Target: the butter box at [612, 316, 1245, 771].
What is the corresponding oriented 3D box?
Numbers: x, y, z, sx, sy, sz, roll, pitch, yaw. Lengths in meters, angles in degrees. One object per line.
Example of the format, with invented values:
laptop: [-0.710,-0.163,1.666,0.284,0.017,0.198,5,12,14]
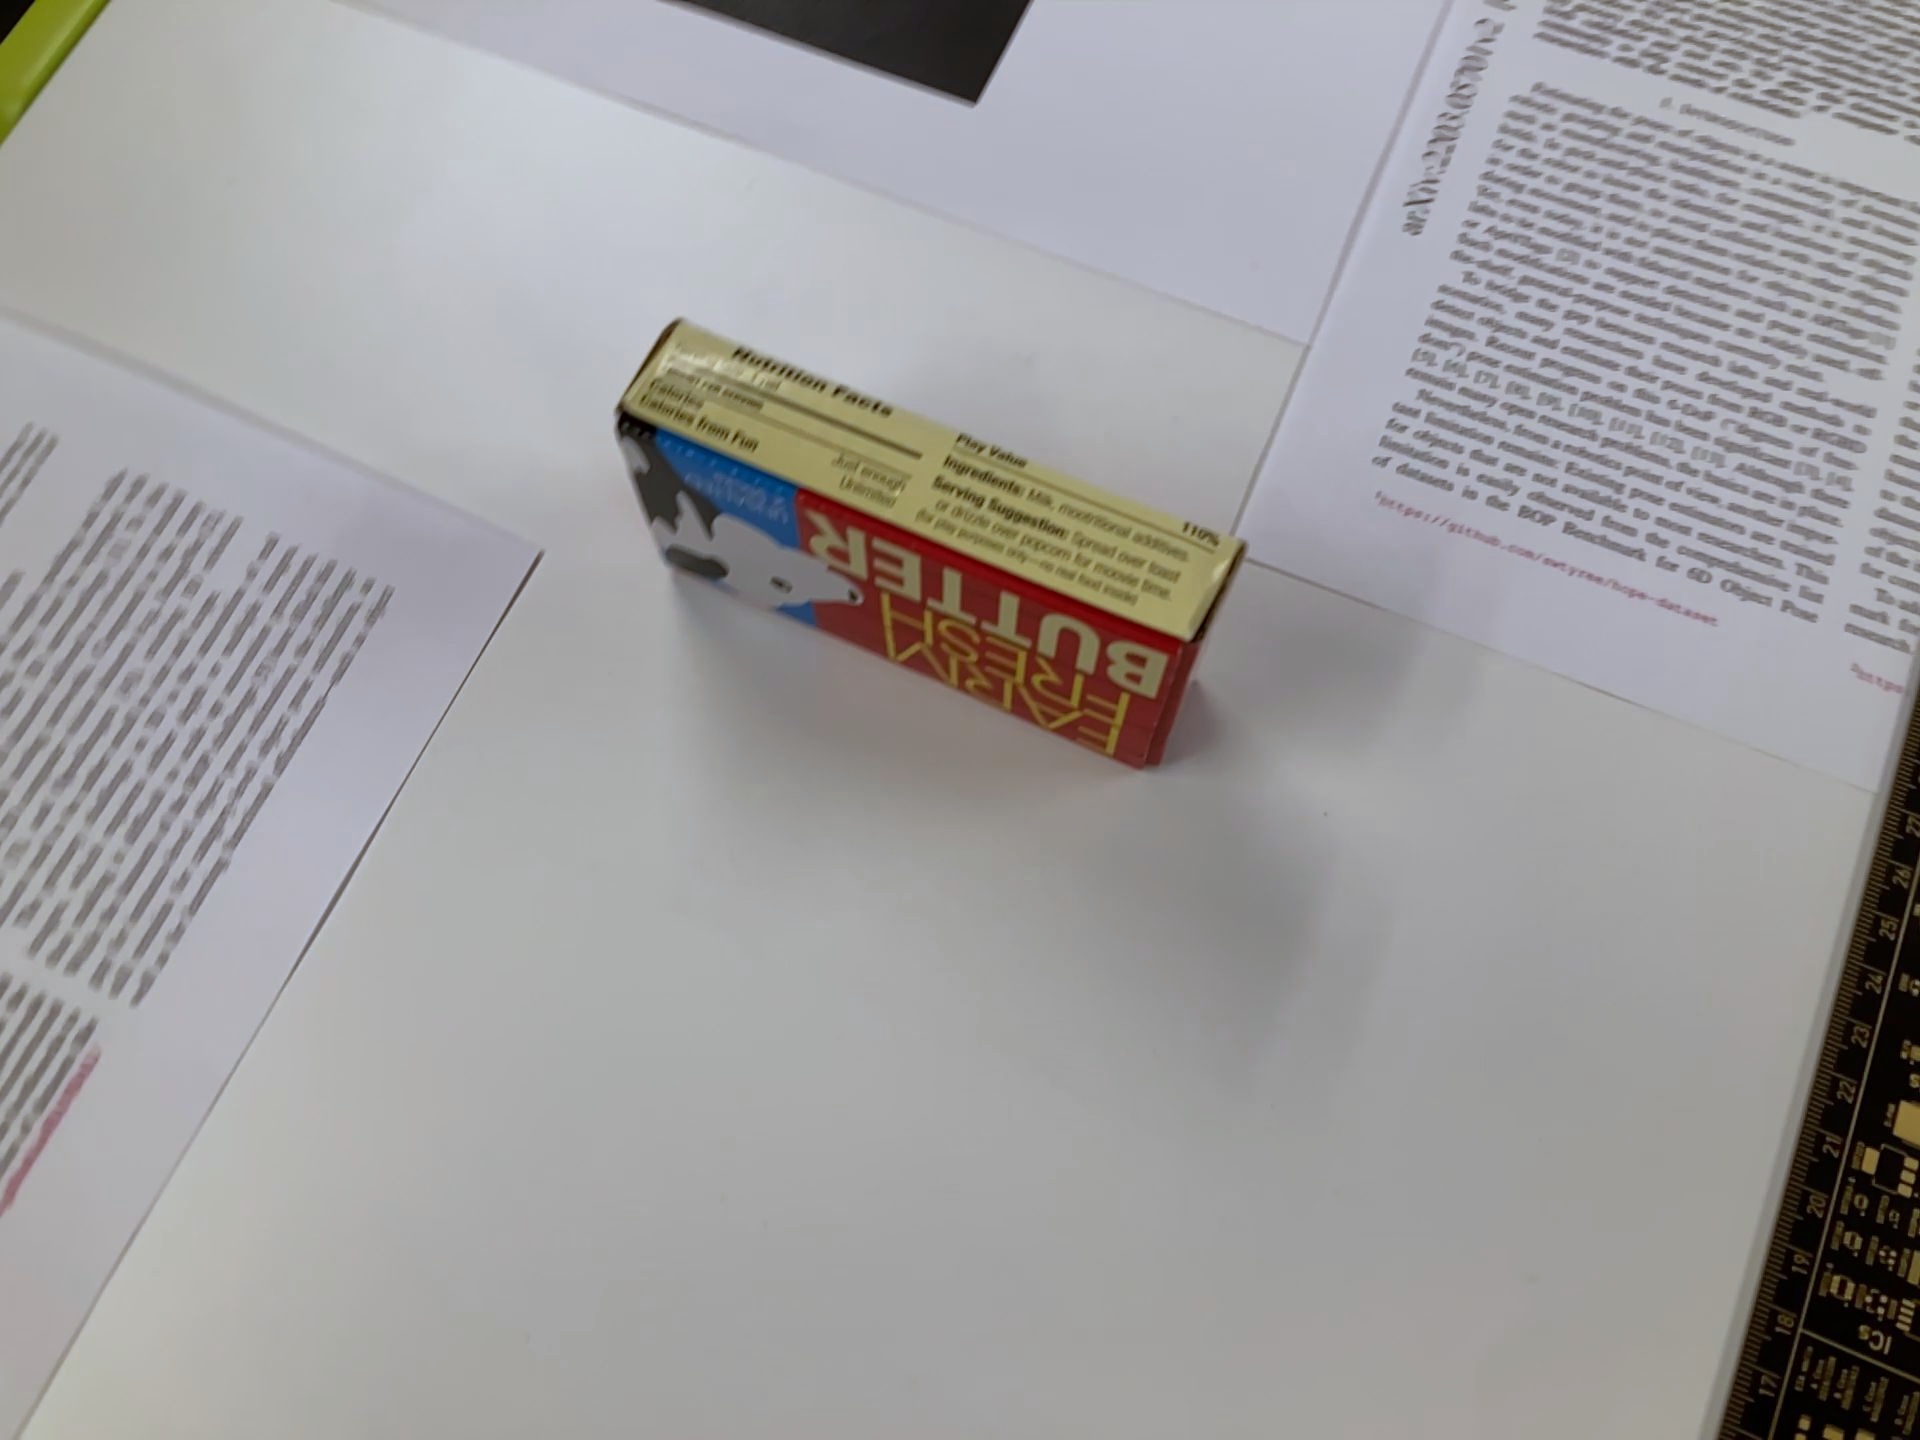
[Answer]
butter box: [-0.006,-0.028,0.273,0.103,0.053,0.024,23,70,8]
